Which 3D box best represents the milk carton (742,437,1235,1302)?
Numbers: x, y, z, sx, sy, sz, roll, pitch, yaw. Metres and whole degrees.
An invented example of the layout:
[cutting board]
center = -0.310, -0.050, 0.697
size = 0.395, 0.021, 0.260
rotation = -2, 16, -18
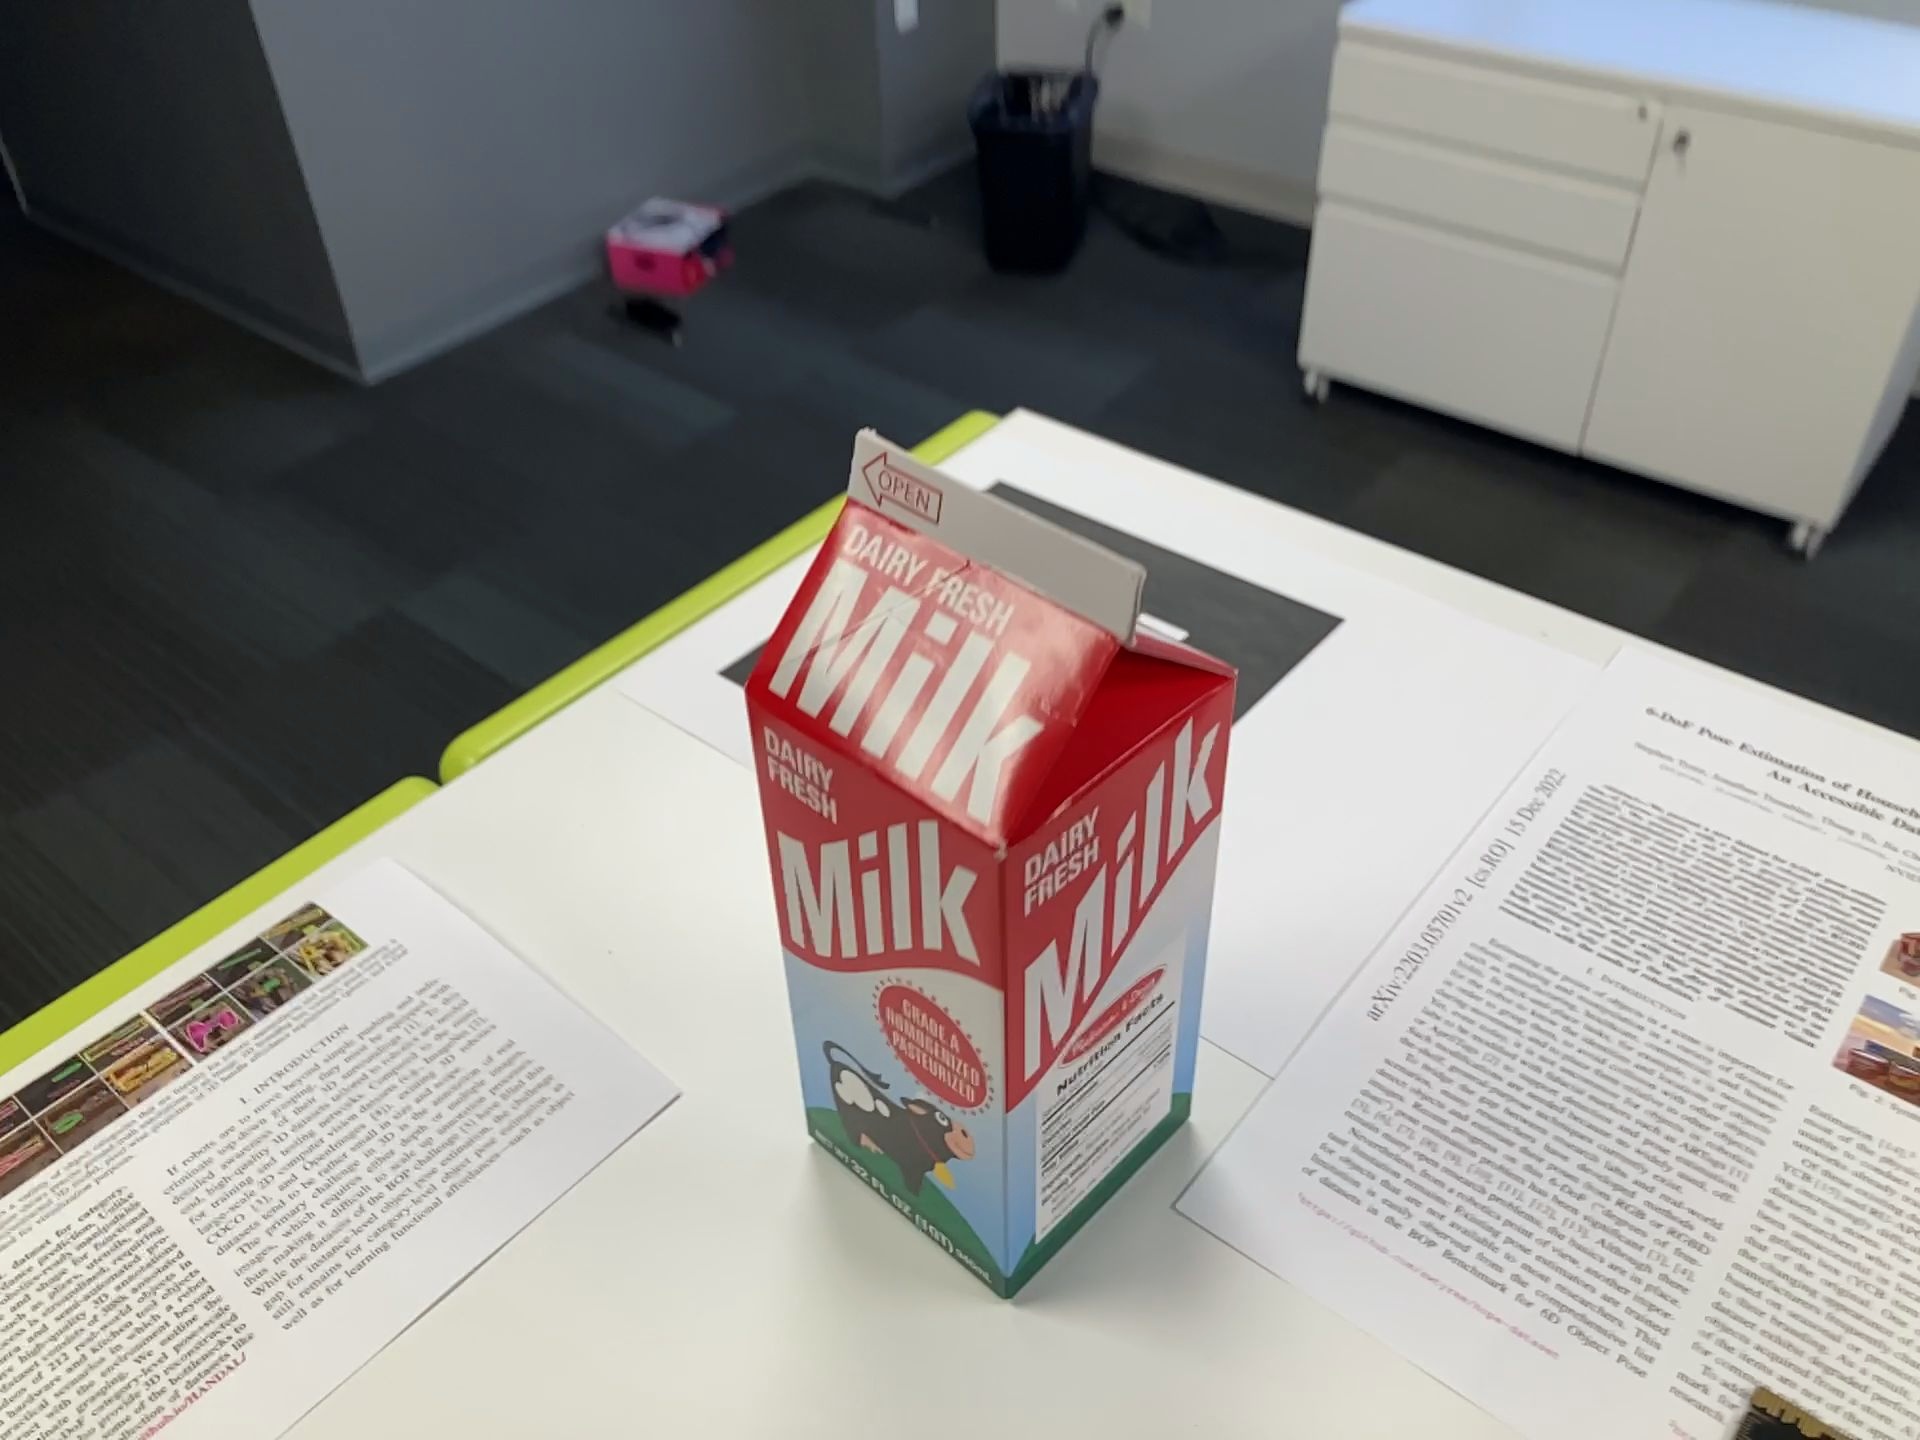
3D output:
[milk carton]
center = 0.007, 0.033, 0.349
size = 0.072, 0.190, 0.073
rotation = 31, 50, 33
